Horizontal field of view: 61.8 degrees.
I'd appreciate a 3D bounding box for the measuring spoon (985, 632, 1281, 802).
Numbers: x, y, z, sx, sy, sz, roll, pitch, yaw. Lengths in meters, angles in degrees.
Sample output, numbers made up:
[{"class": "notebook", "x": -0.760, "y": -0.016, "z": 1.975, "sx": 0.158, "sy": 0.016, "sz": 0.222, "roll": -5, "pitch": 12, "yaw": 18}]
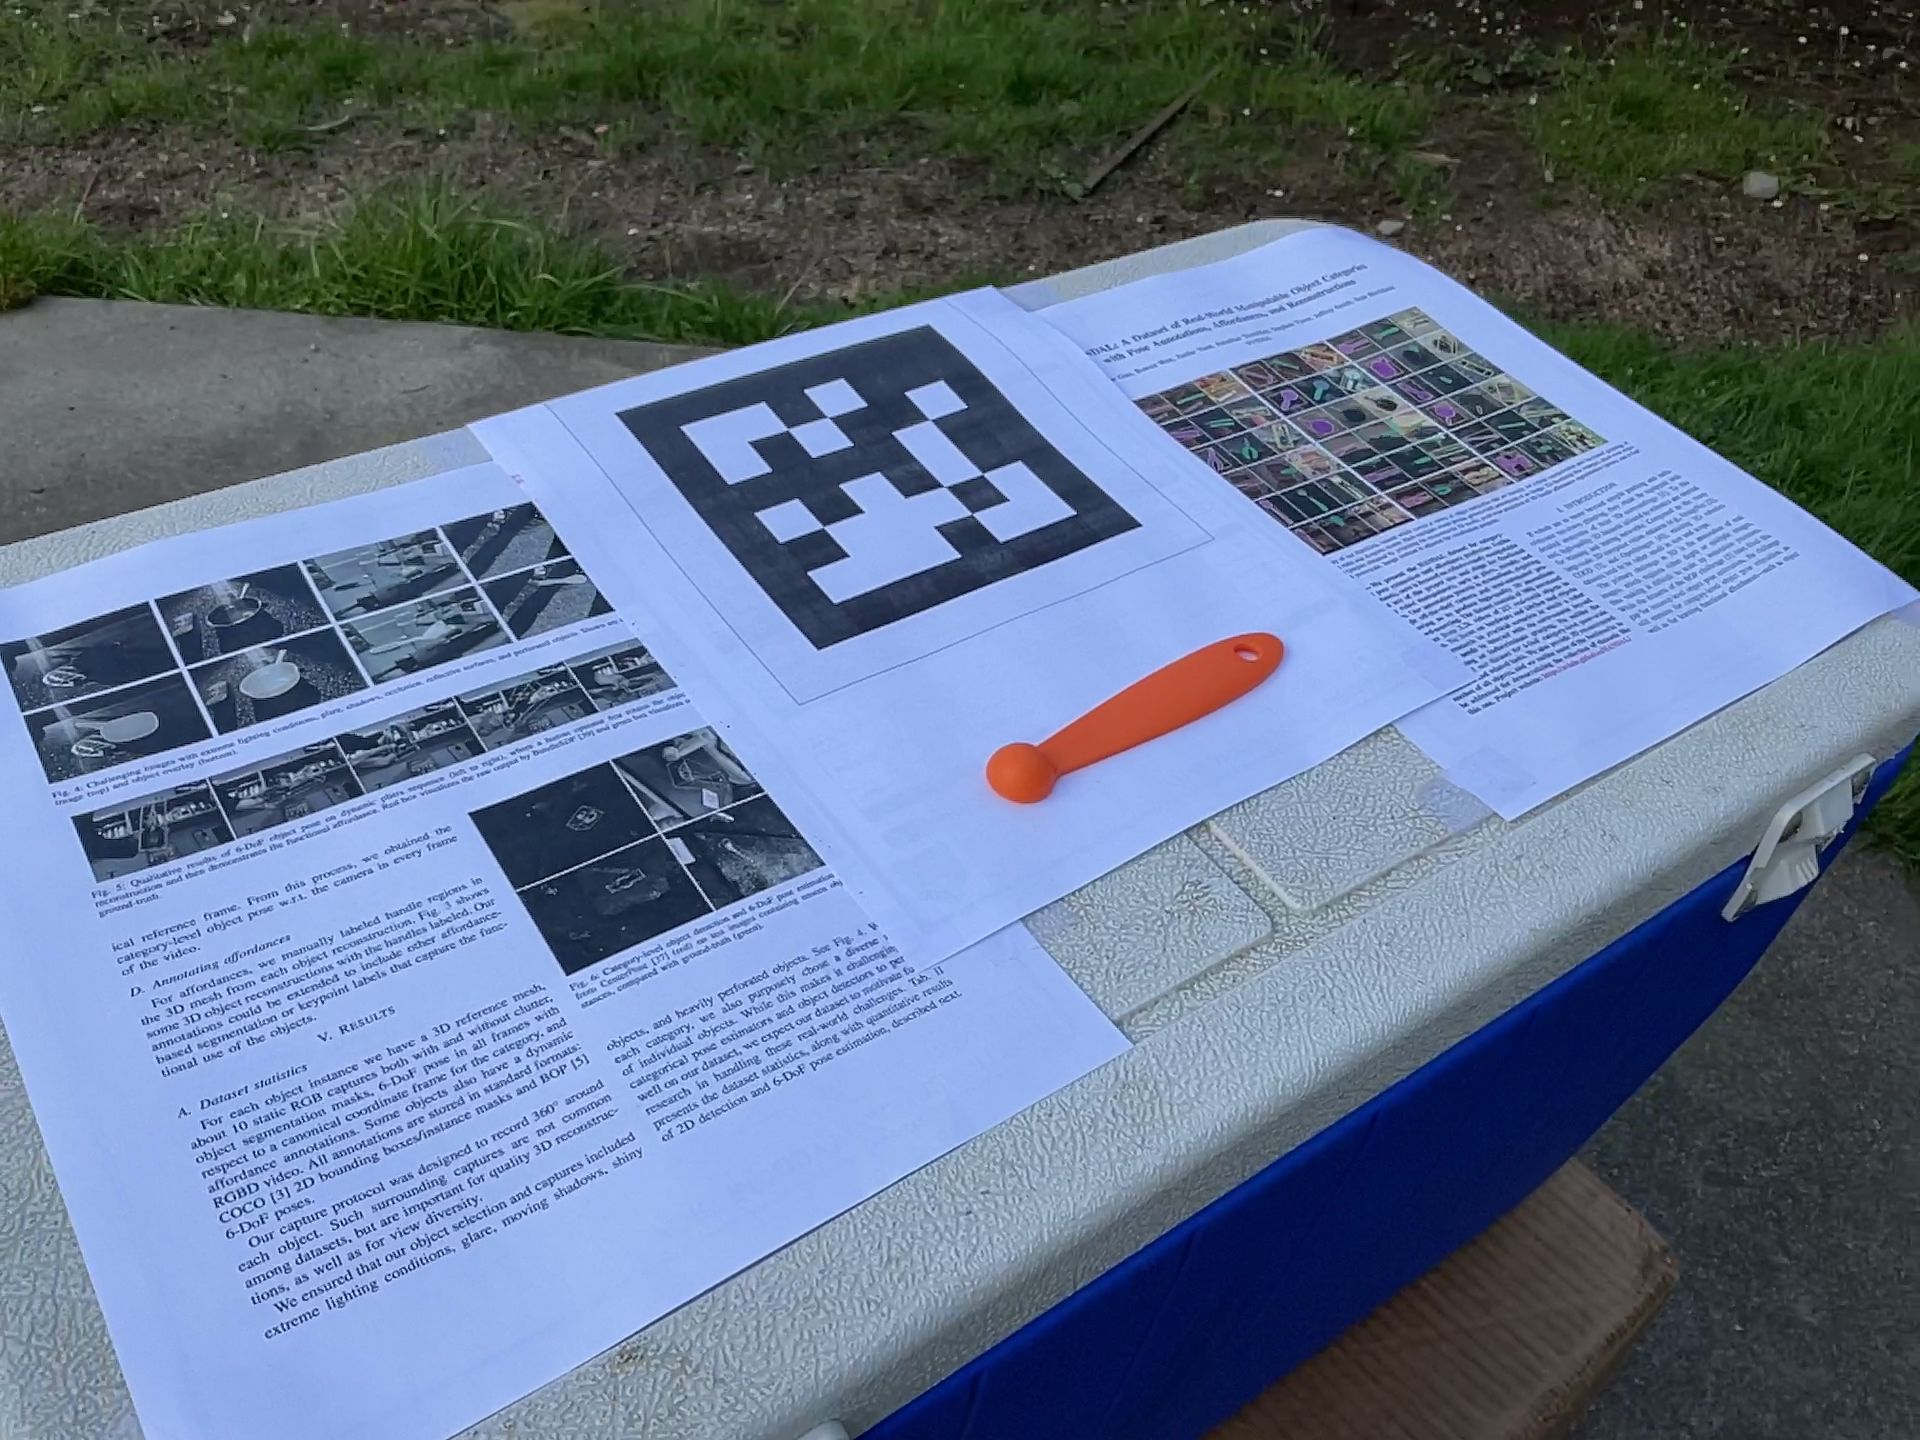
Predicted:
[{"class": "measuring spoon", "x": 0.054, "y": -0.006, "z": 0.469, "sx": 0.117, "sy": 0.011, "sz": 0.021, "roll": -25, "pitch": 59, "yaw": -32}]
